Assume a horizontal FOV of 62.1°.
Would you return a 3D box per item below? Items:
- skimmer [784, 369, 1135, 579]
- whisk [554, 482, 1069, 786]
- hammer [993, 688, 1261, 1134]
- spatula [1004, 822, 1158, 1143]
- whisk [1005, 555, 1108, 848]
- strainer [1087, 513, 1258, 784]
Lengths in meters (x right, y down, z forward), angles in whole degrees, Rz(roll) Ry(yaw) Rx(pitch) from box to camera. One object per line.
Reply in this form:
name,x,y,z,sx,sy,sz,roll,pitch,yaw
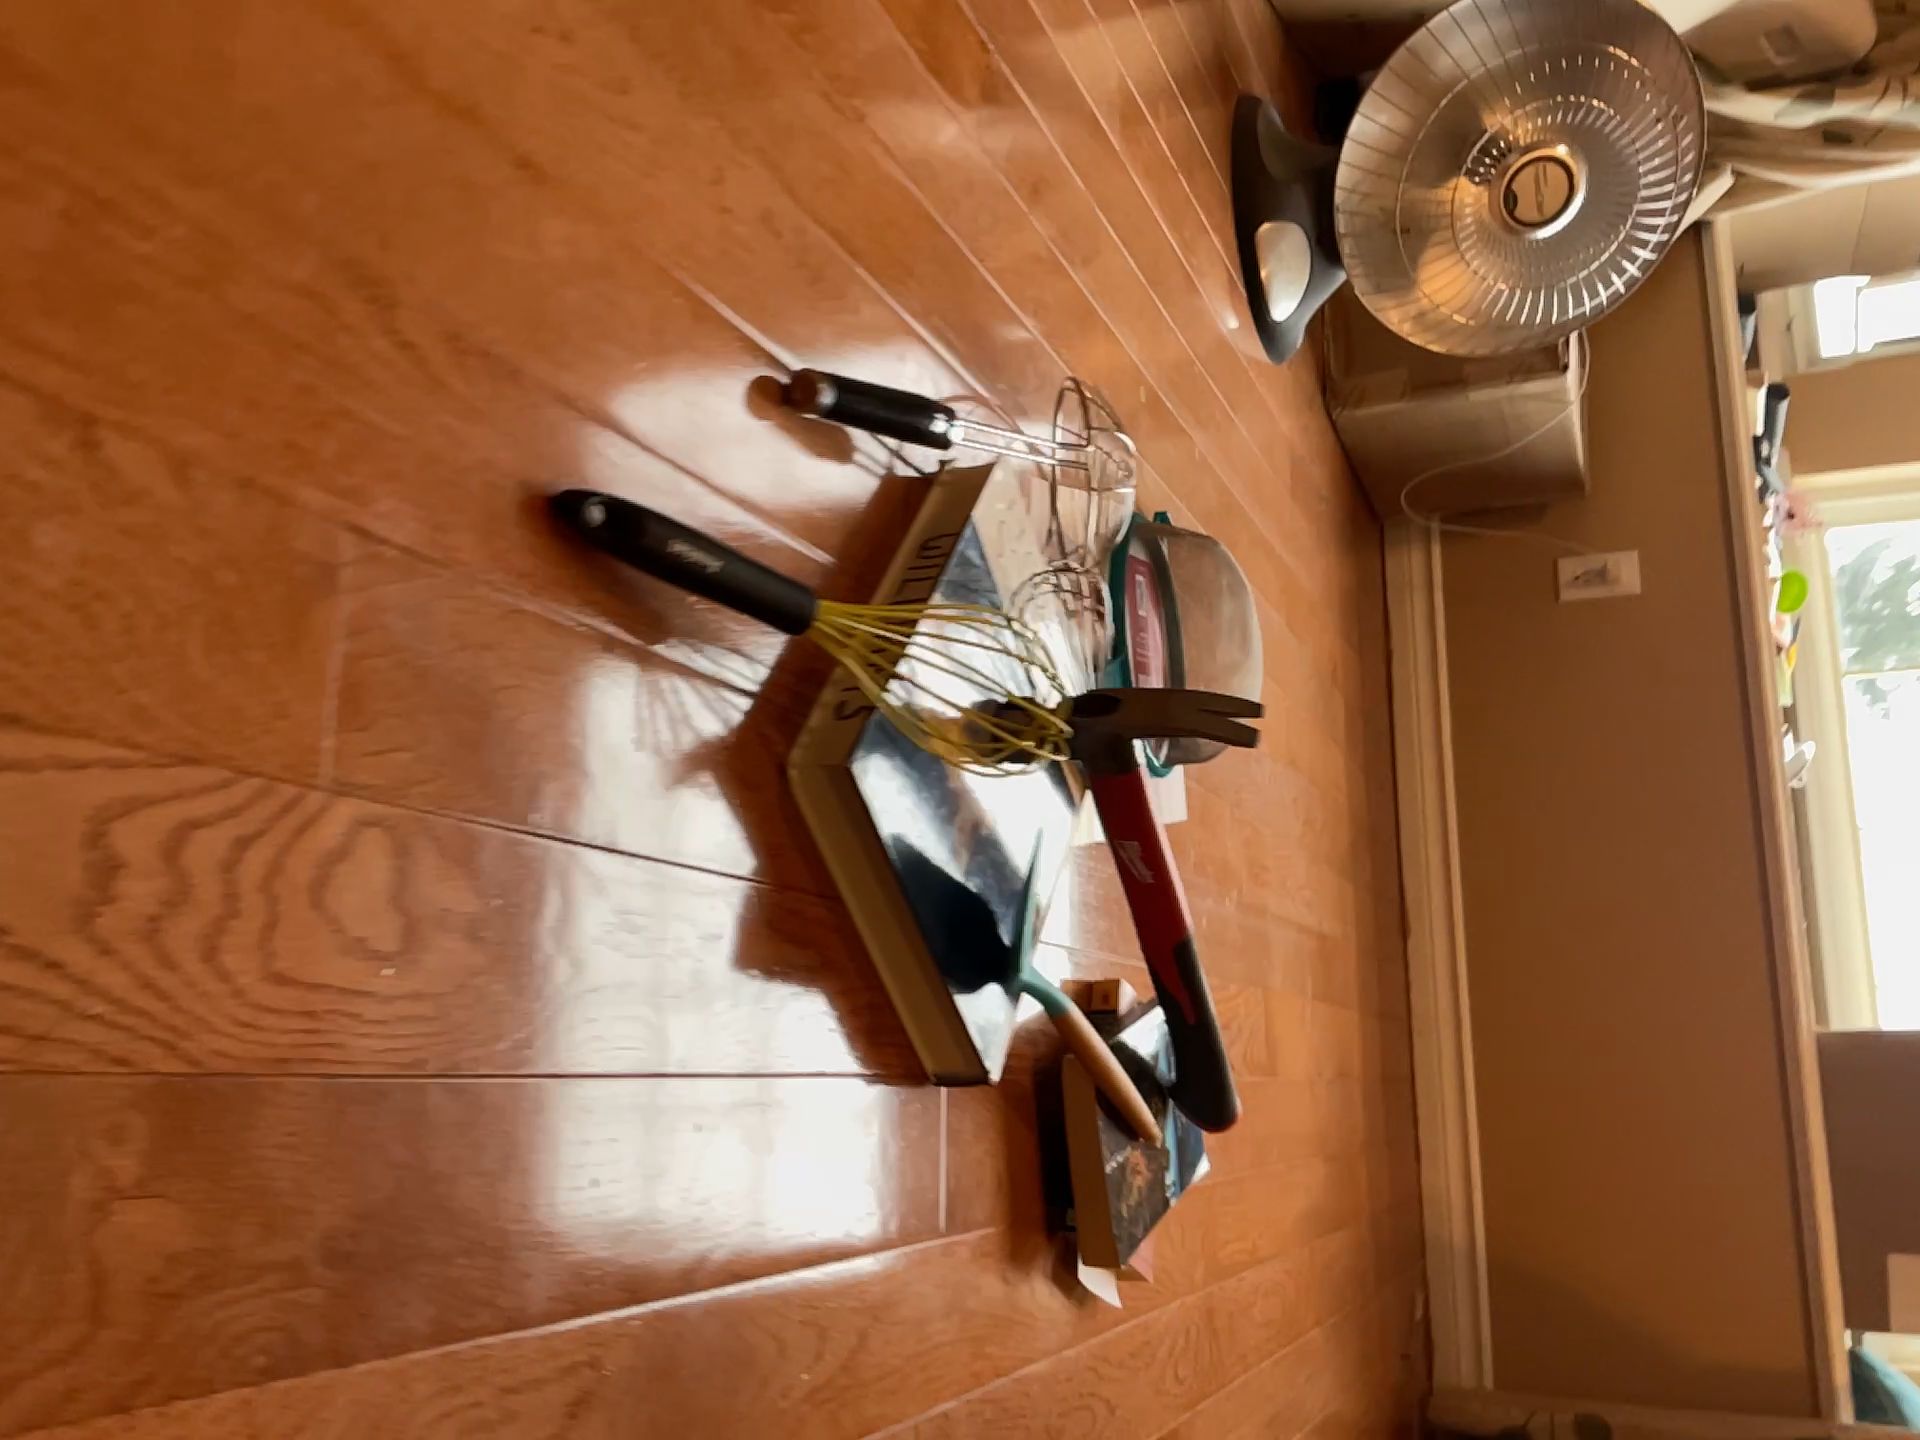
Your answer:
skimmer,0.001,-0.153,0.912,0.363,0.090,0.127,-1,89,-56
whisk,-0.050,-0.038,0.686,0.311,0.067,0.080,25,77,-48
hammer,0.137,0.130,0.959,0.038,0.143,0.386,-68,148,-41
spatula,0.073,0.174,0.898,0.317,0.044,0.083,58,33,-47
whisk,0.076,0.000,0.952,0.059,0.058,0.246,-116,-176,-47
strainer,0.163,-0.046,1.163,0.341,0.095,0.211,-38,121,-71
